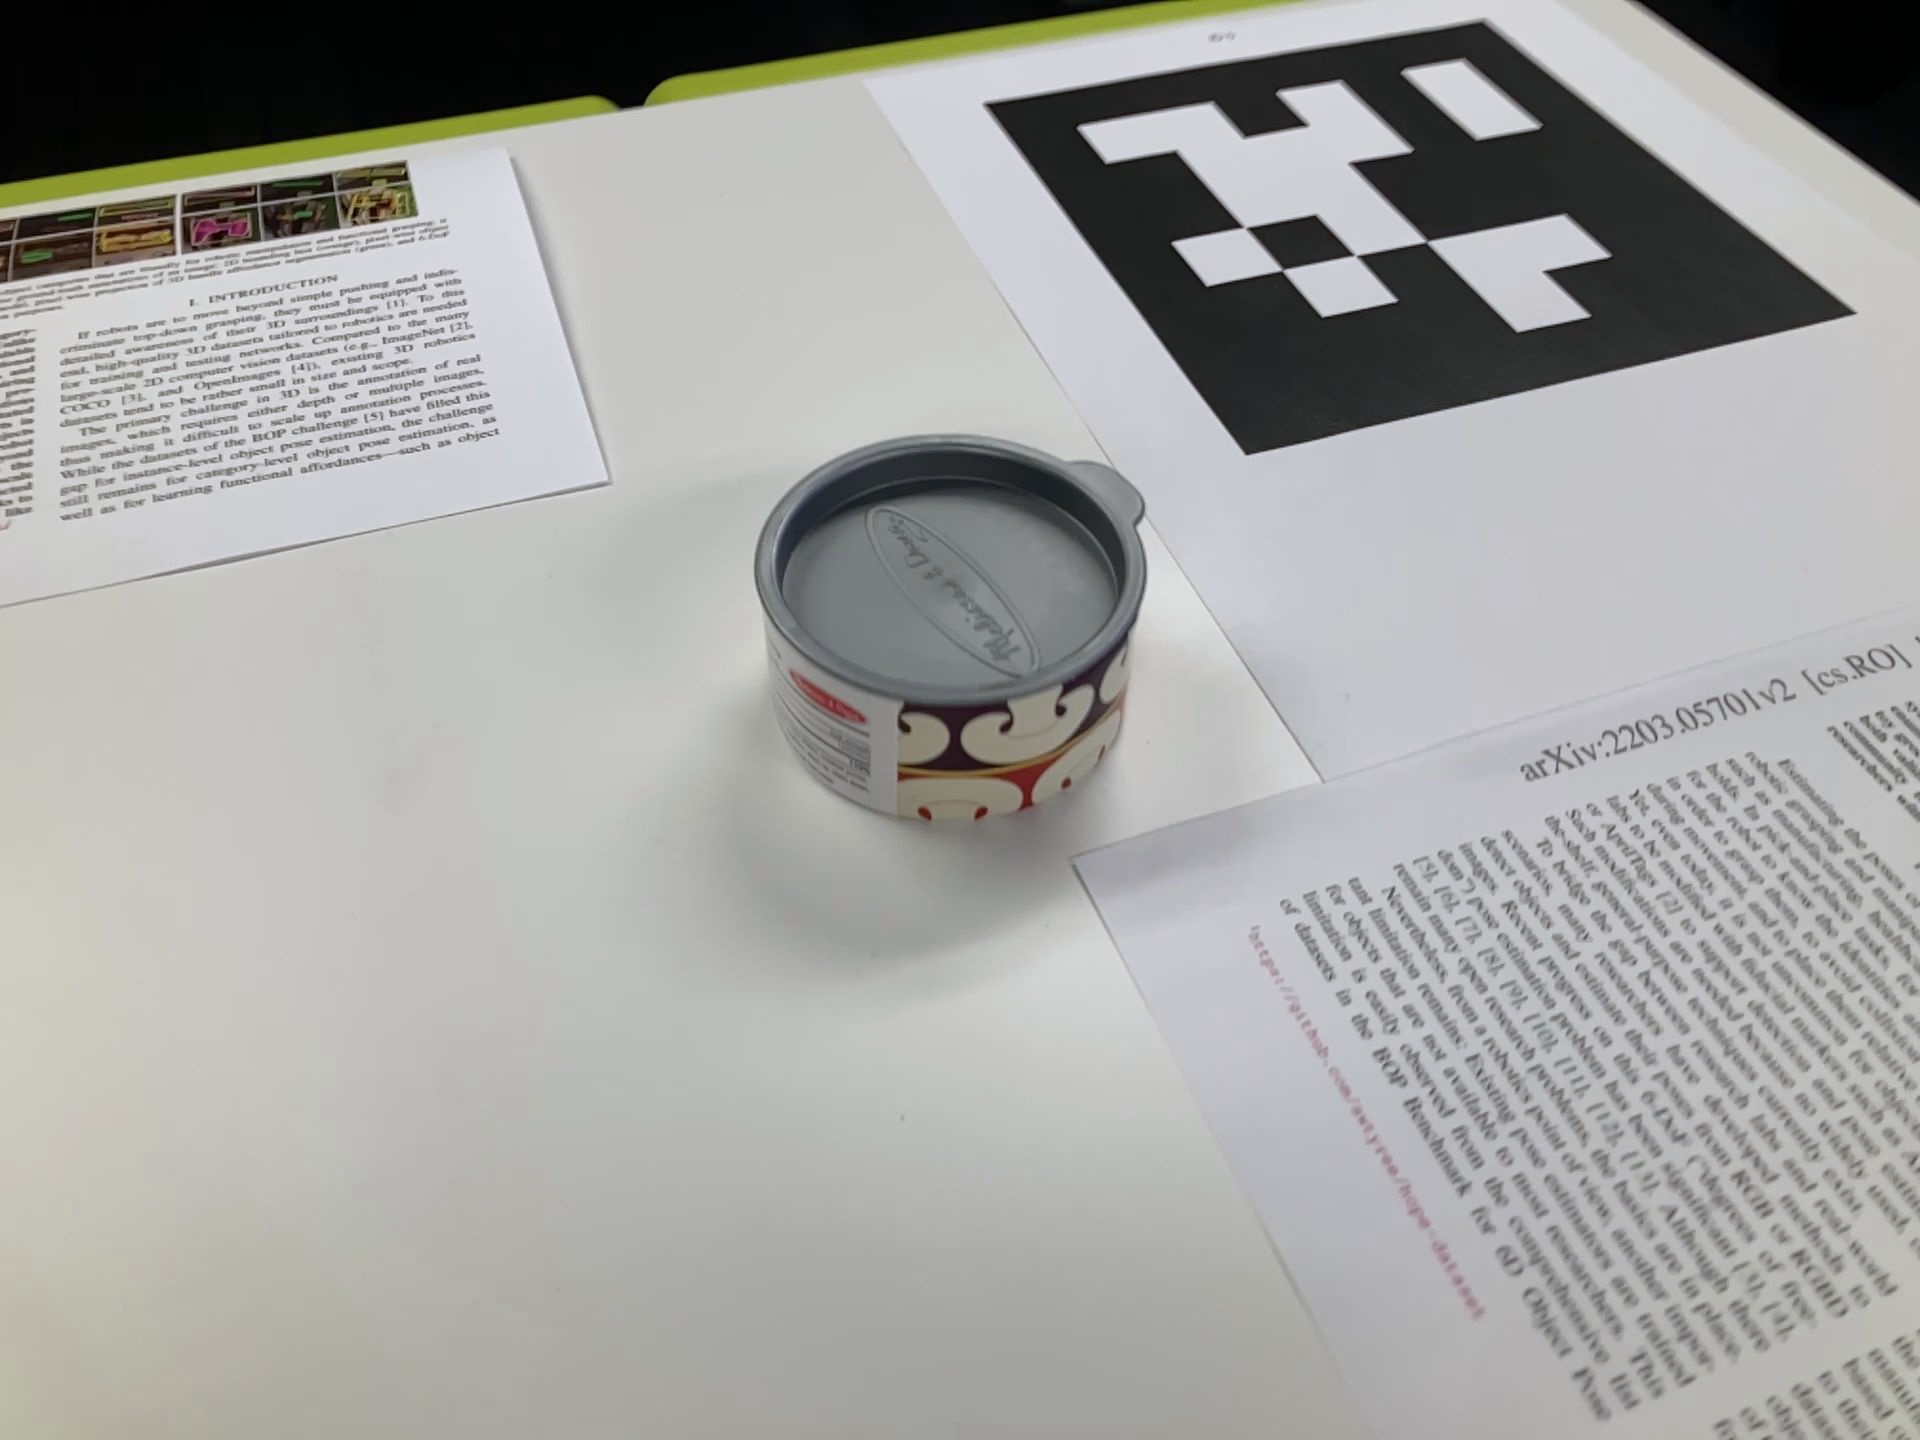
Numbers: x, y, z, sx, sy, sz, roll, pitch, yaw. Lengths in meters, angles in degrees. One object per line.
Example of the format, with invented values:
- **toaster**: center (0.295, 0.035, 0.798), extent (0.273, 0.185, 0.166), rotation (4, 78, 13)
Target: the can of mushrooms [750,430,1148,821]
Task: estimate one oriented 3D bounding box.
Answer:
- **can of mushrooms**: center (0.000, -0.018, 0.277), extent (0.071, 0.033, 0.071), rotation (0, 48, 0)
